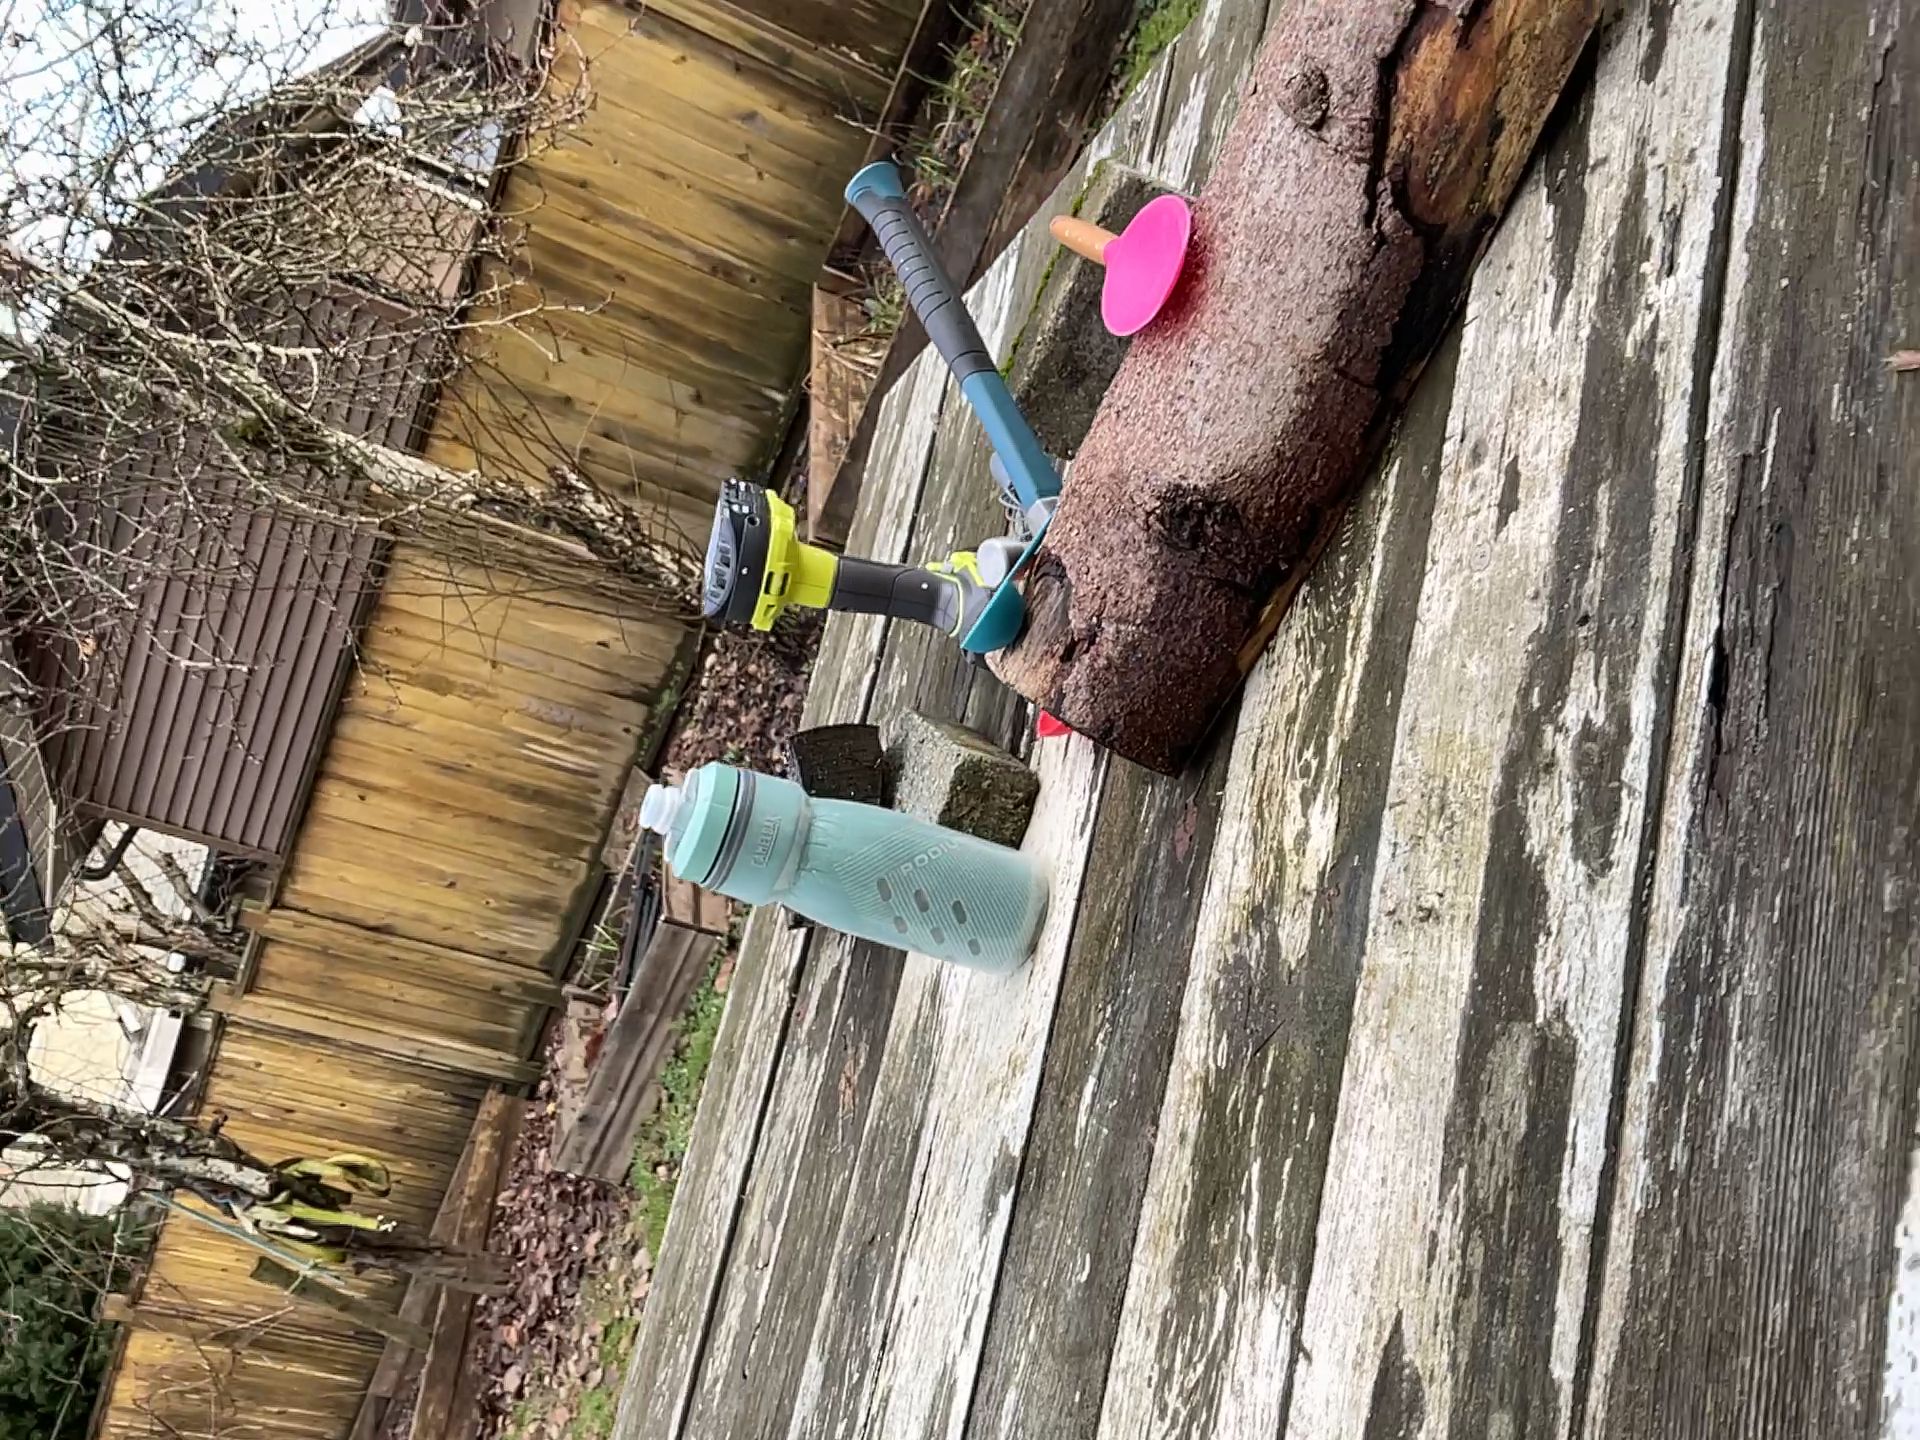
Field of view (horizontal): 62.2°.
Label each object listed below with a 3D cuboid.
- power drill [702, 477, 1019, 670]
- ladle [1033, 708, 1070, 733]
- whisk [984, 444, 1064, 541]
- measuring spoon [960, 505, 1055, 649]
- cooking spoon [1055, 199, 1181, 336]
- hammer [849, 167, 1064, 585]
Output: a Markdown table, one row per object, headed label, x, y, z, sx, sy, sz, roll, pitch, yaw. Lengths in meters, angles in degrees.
| label | x | y | z | sx | sy | sz | roll | pitch | yaw |
| --- | --- | --- | --- | --- | --- | --- | --- | --- | --- |
| power drill | -0.062 | -0.102 | 1.115 | 0.171 | 0.223 | 0.080 | -112 | 36 | -67 |
| ladle | 0.114 | -0.136 | 0.933 | 0.069 | 0.031 | 0.315 | -161 | 92 | -76 |
| whisk | 0.041 | -0.172 | 1.145 | 0.055 | 0.055 | 0.239 | -59 | 16 | 13 |
| measuring spoon | 0.038 | -0.080 | 0.845 | 0.128 | 0.021 | 0.042 | -57 | 4 | -38 |
| cooking spoon | 0.082 | -0.260 | 0.884 | 0.319 | 0.017 | 0.068 | -104 | 35 | -68 |
| hammer | 0.007 | -0.229 | 1.023 | 0.033 | 0.128 | 0.331 | -50 | 59 | 46 |
